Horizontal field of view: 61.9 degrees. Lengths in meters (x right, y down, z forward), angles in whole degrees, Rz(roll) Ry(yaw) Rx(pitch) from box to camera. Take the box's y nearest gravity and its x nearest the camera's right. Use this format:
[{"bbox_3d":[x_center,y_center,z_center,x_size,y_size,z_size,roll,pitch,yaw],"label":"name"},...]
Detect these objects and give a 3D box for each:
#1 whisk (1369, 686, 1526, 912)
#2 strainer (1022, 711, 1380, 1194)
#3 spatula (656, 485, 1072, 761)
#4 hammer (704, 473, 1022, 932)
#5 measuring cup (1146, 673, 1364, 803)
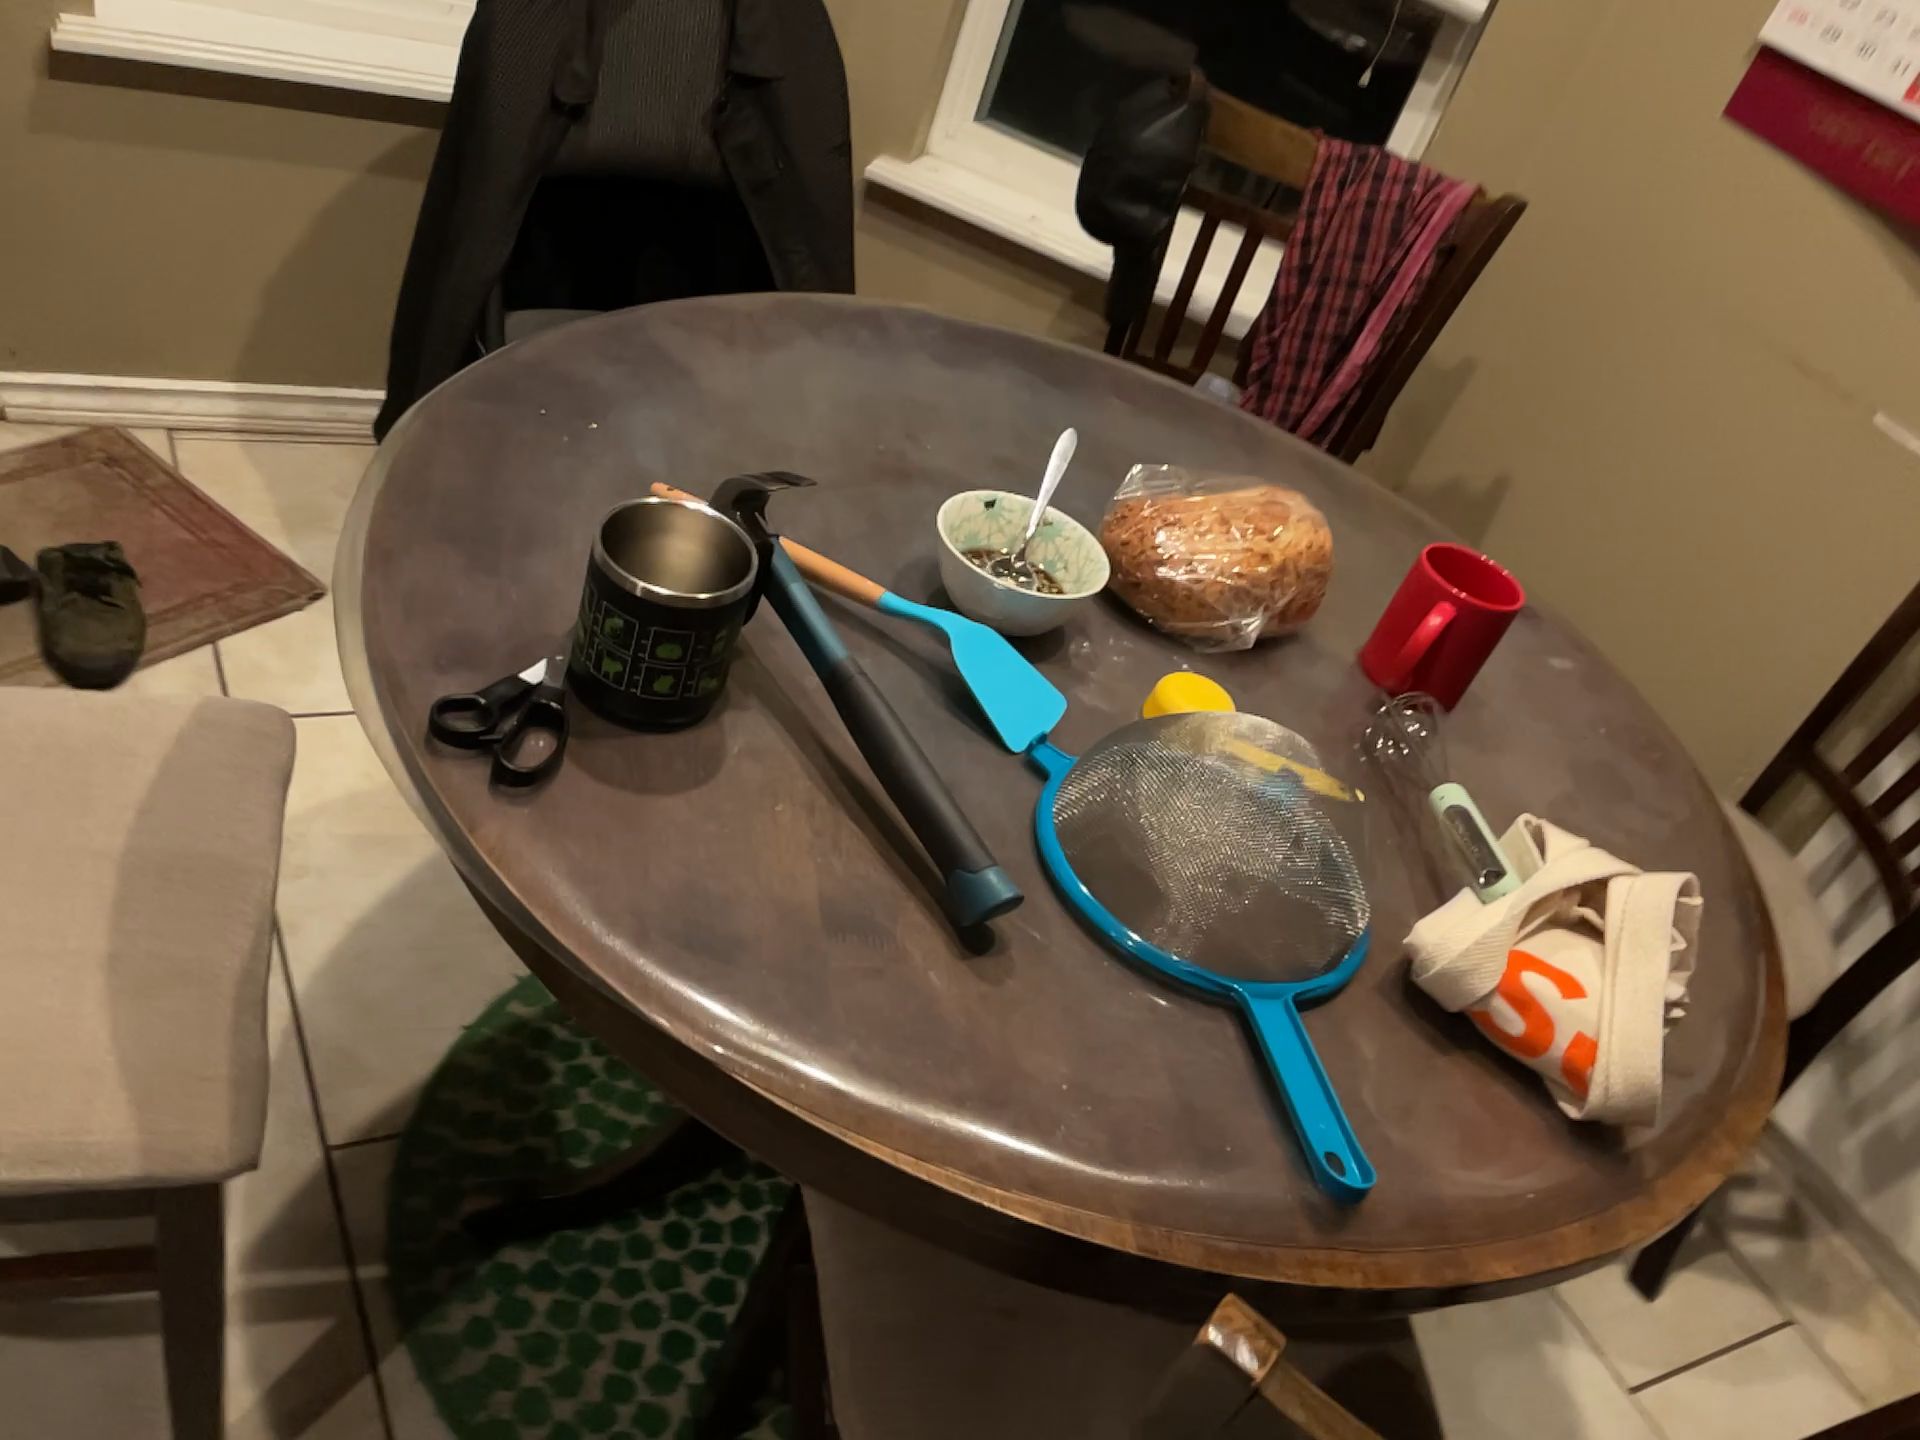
[{"bbox_3d":[0.314,0.047,1.039,0.059,0.057,0.246,43,19,-23],"label":"whisk"},{"bbox_3d":[0.169,0.096,0.885,0.211,0.095,0.341,7,34,-18],"label":"strainer"},{"bbox_3d":[-0.072,-0.076,1.052,0.317,0.044,0.082,28,37,16],"label":"spatula"},{"bbox_3d":[-0.064,-0.014,0.918,0.033,0.128,0.331,-14,57,-36],"label":"hammer"},{"bbox_3d":[0.200,0.013,1.064,0.156,0.029,0.062,24,36,6],"label":"measuring cup"}]
